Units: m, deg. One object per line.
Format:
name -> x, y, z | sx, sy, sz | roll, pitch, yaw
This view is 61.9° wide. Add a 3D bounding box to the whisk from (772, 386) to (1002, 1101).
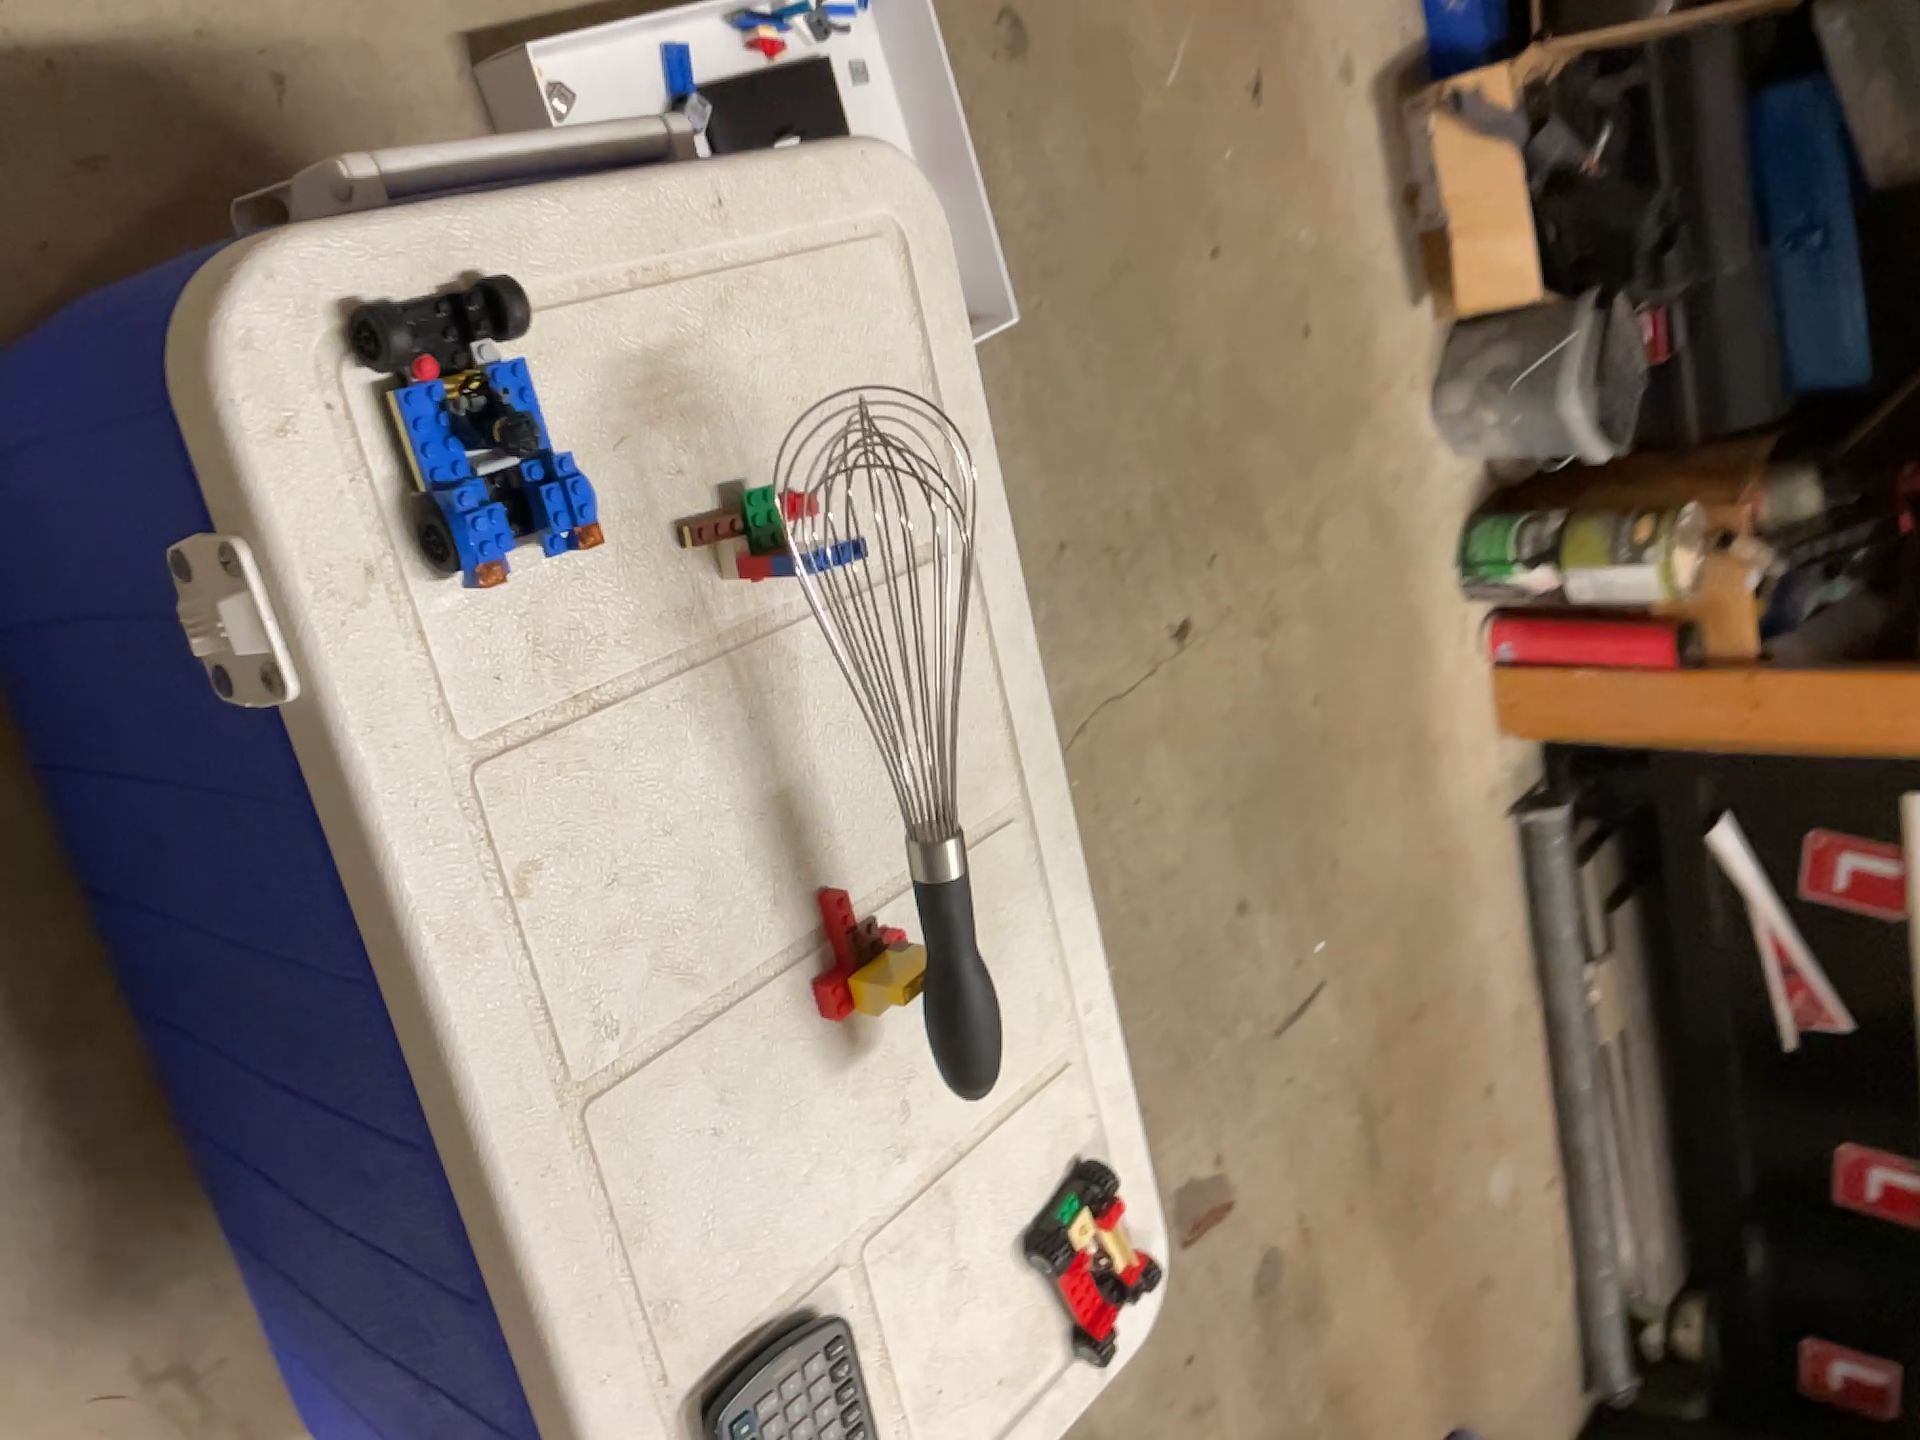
whisk -> -0.013, 0.019, 0.588 | 0.070, 0.070, 0.284 | -35, 123, -47
